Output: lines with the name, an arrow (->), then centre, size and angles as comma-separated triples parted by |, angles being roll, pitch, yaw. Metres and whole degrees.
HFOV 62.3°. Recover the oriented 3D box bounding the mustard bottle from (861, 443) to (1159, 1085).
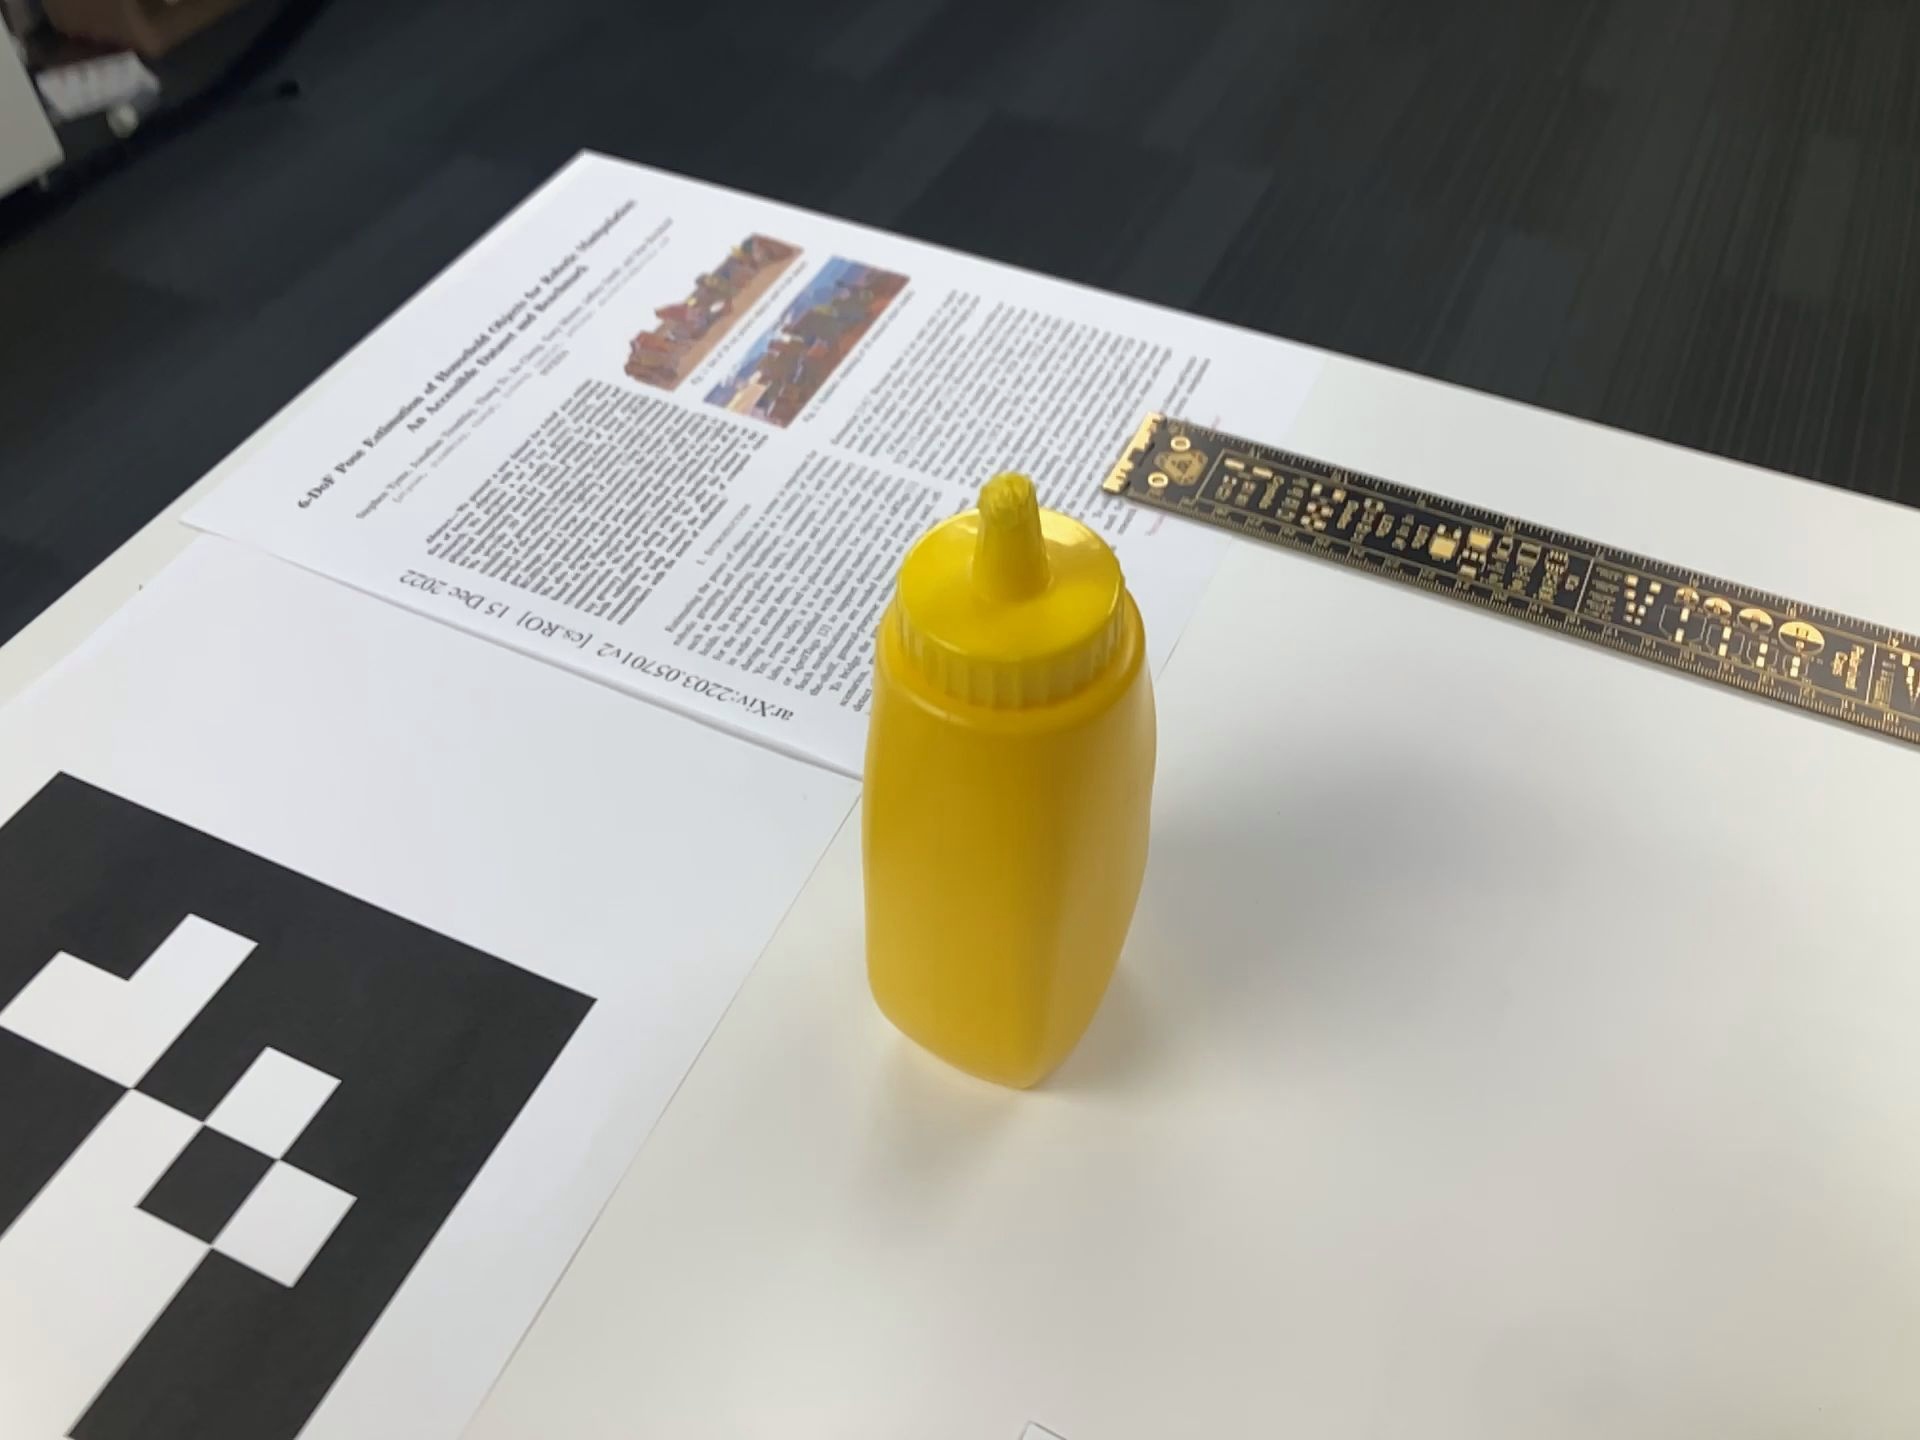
mustard bottle -> 0.010, 0.008, 0.304 | 0.049, 0.160, 0.065 | 22, 52, 20
